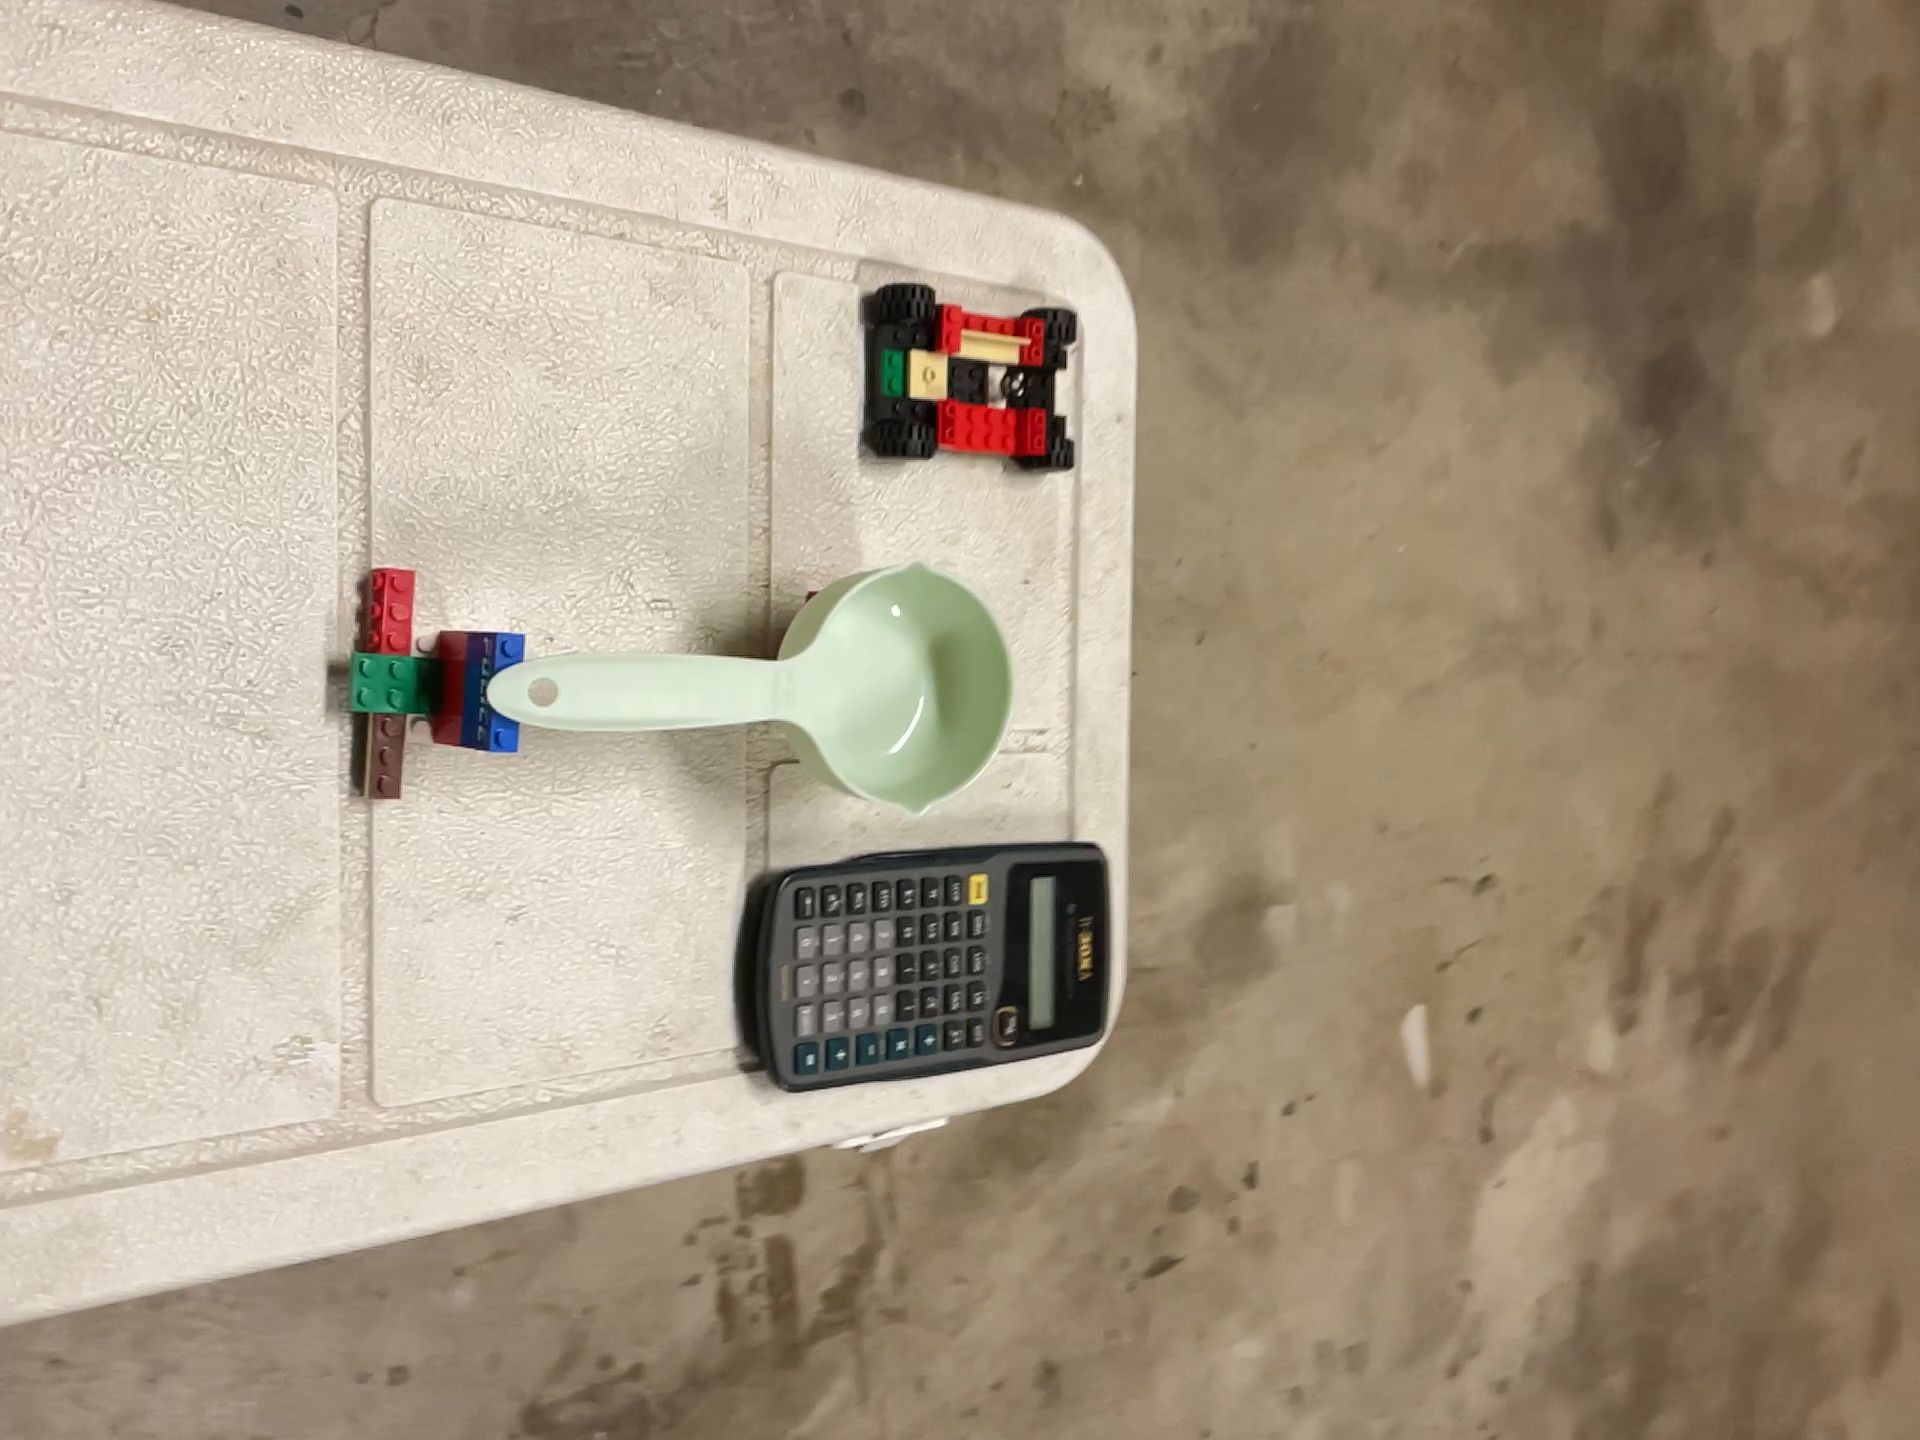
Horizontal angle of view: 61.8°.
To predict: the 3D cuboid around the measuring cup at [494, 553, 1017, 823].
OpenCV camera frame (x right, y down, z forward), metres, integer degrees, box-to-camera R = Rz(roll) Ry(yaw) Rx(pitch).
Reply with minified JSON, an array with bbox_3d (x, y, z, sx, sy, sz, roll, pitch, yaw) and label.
[{"bbox_3d":[-0.061,-0.009,0.482,0.167,0.038,0.083,-3,96,-32],"label":"measuring cup"}]
